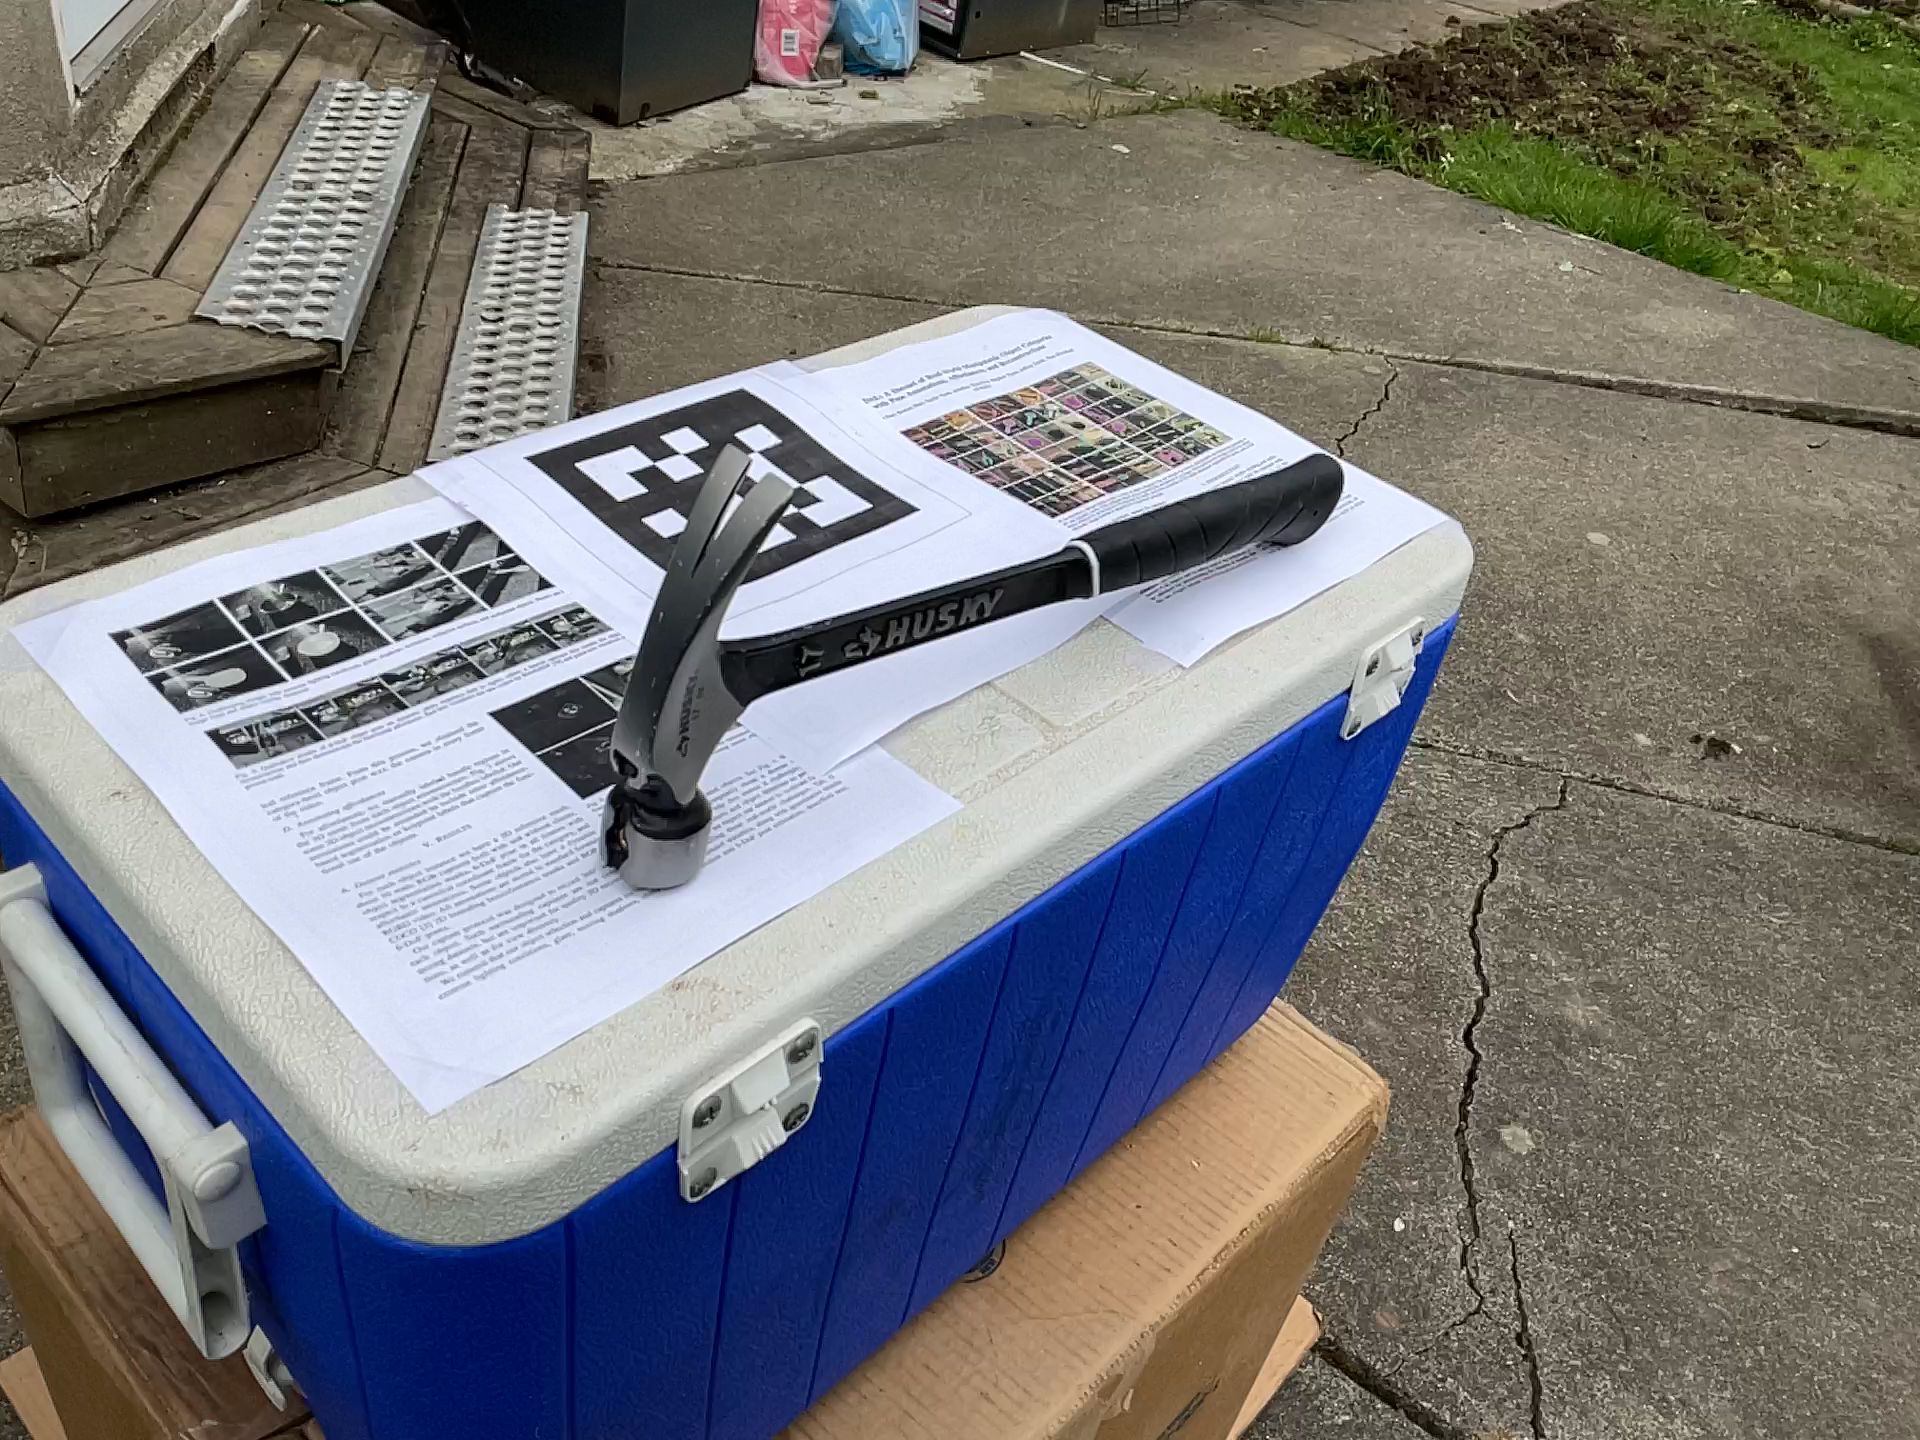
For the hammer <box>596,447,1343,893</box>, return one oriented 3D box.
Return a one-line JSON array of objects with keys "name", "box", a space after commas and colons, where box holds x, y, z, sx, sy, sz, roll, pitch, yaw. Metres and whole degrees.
[{"name": "hammer", "box": [0.036, -0.060, 0.631, 0.036, 0.149, 0.408, 37, 38, 29]}]
